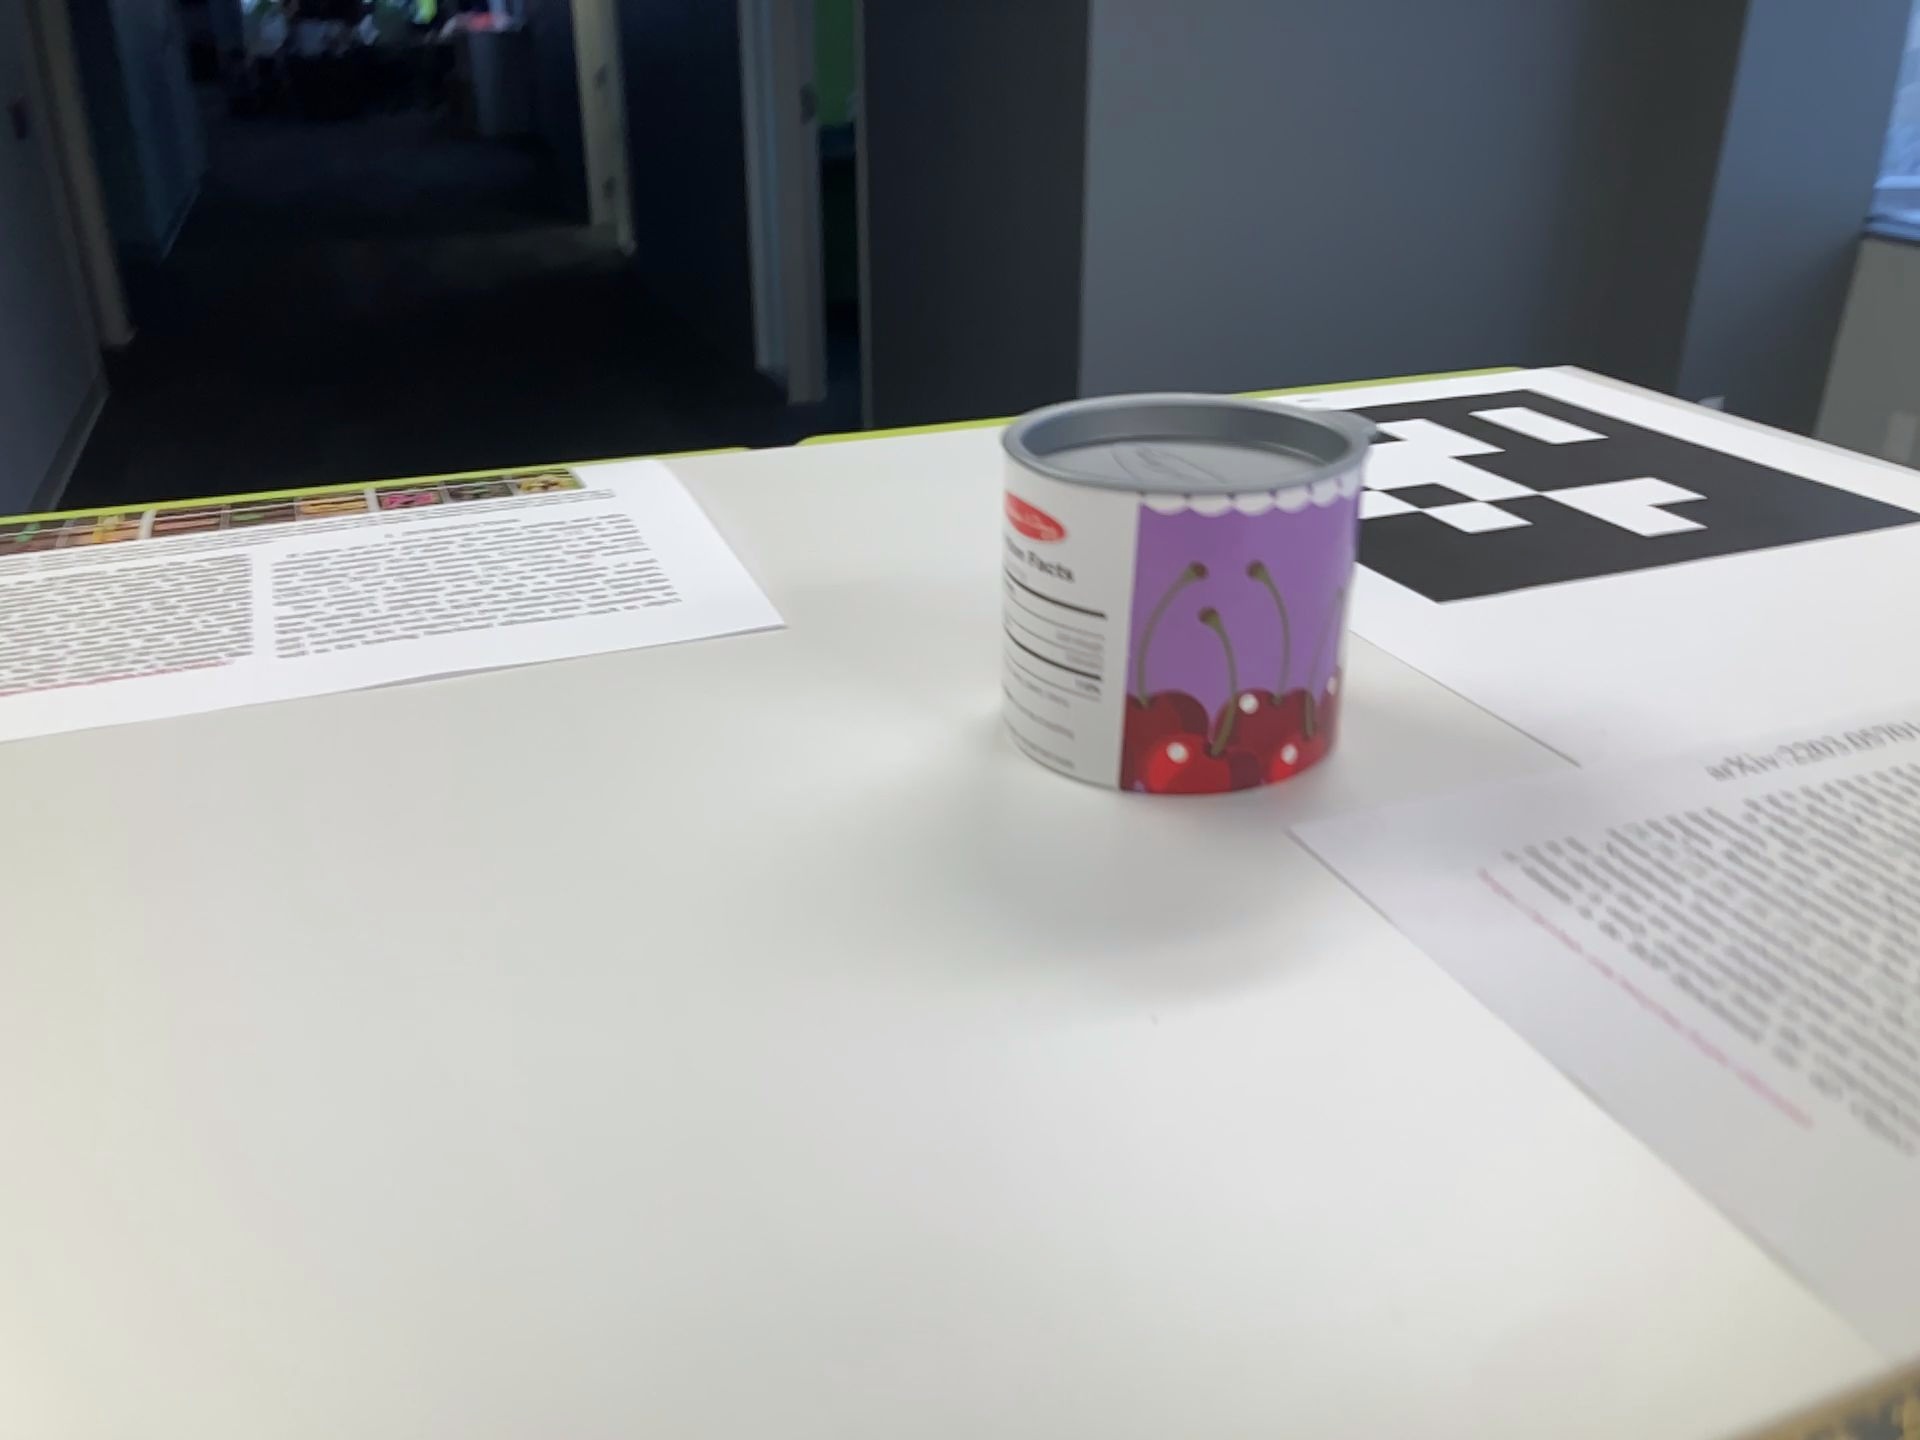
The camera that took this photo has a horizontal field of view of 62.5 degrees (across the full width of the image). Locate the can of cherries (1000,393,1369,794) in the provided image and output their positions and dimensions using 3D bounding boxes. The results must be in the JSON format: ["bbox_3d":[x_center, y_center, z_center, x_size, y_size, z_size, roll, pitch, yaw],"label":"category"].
[{"bbox_3d":[0.043,-0.026,0.300,0.071,0.058,0.071,-1,24,0],"label":"can of cherries"}]
